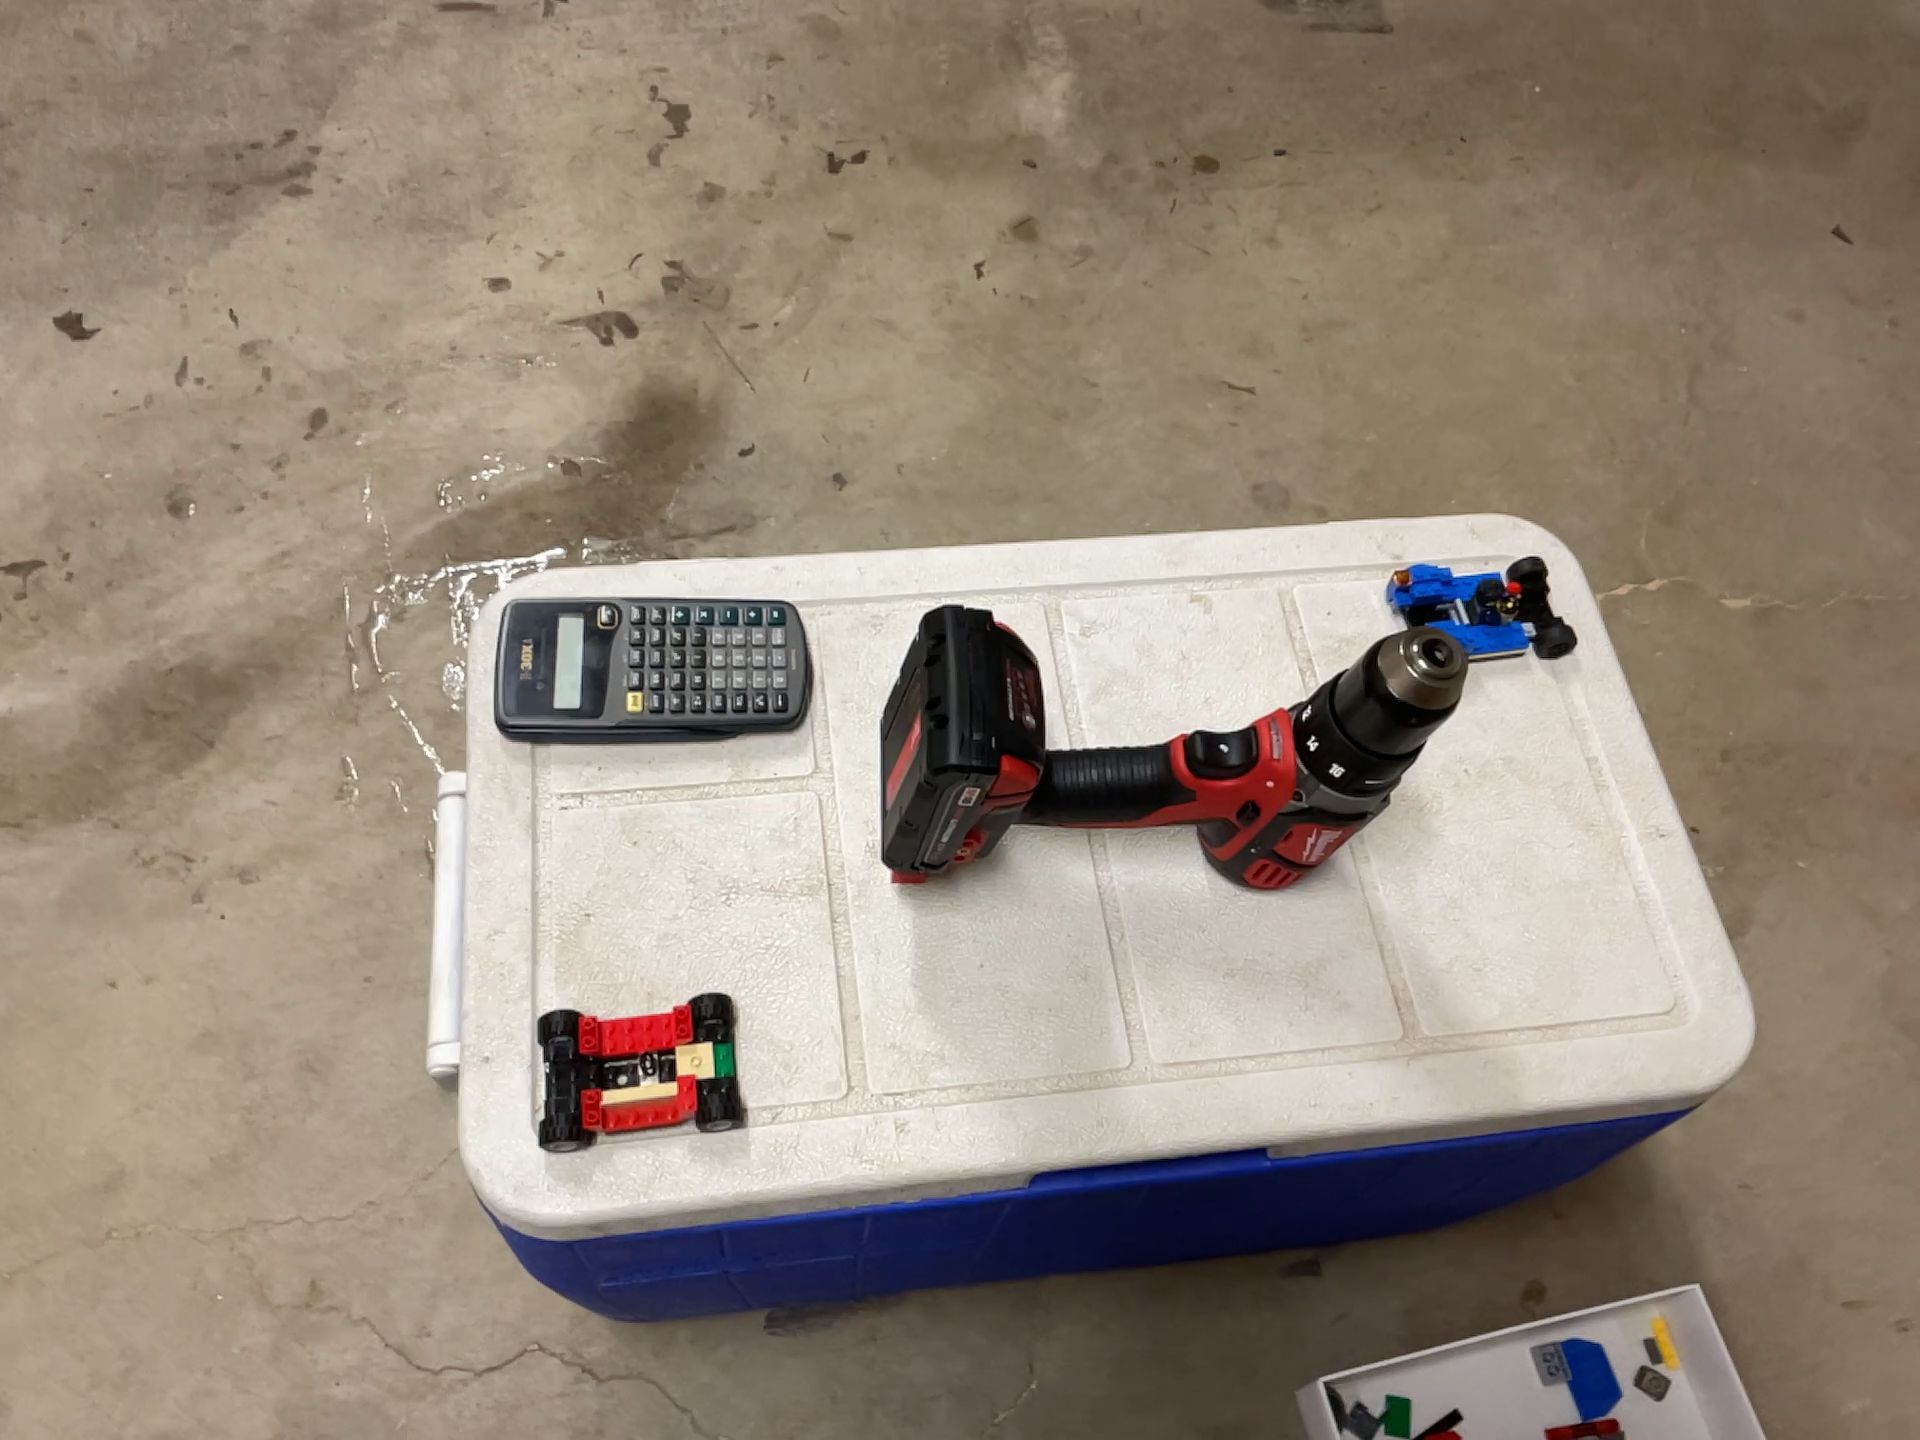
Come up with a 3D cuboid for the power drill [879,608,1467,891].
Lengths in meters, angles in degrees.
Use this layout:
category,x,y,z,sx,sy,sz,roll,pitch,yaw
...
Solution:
category,x,y,z,sx,sy,sz,roll,pitch,yaw
power drill,0.089,0.011,0.695,0.227,0.187,0.080,6,60,-13
